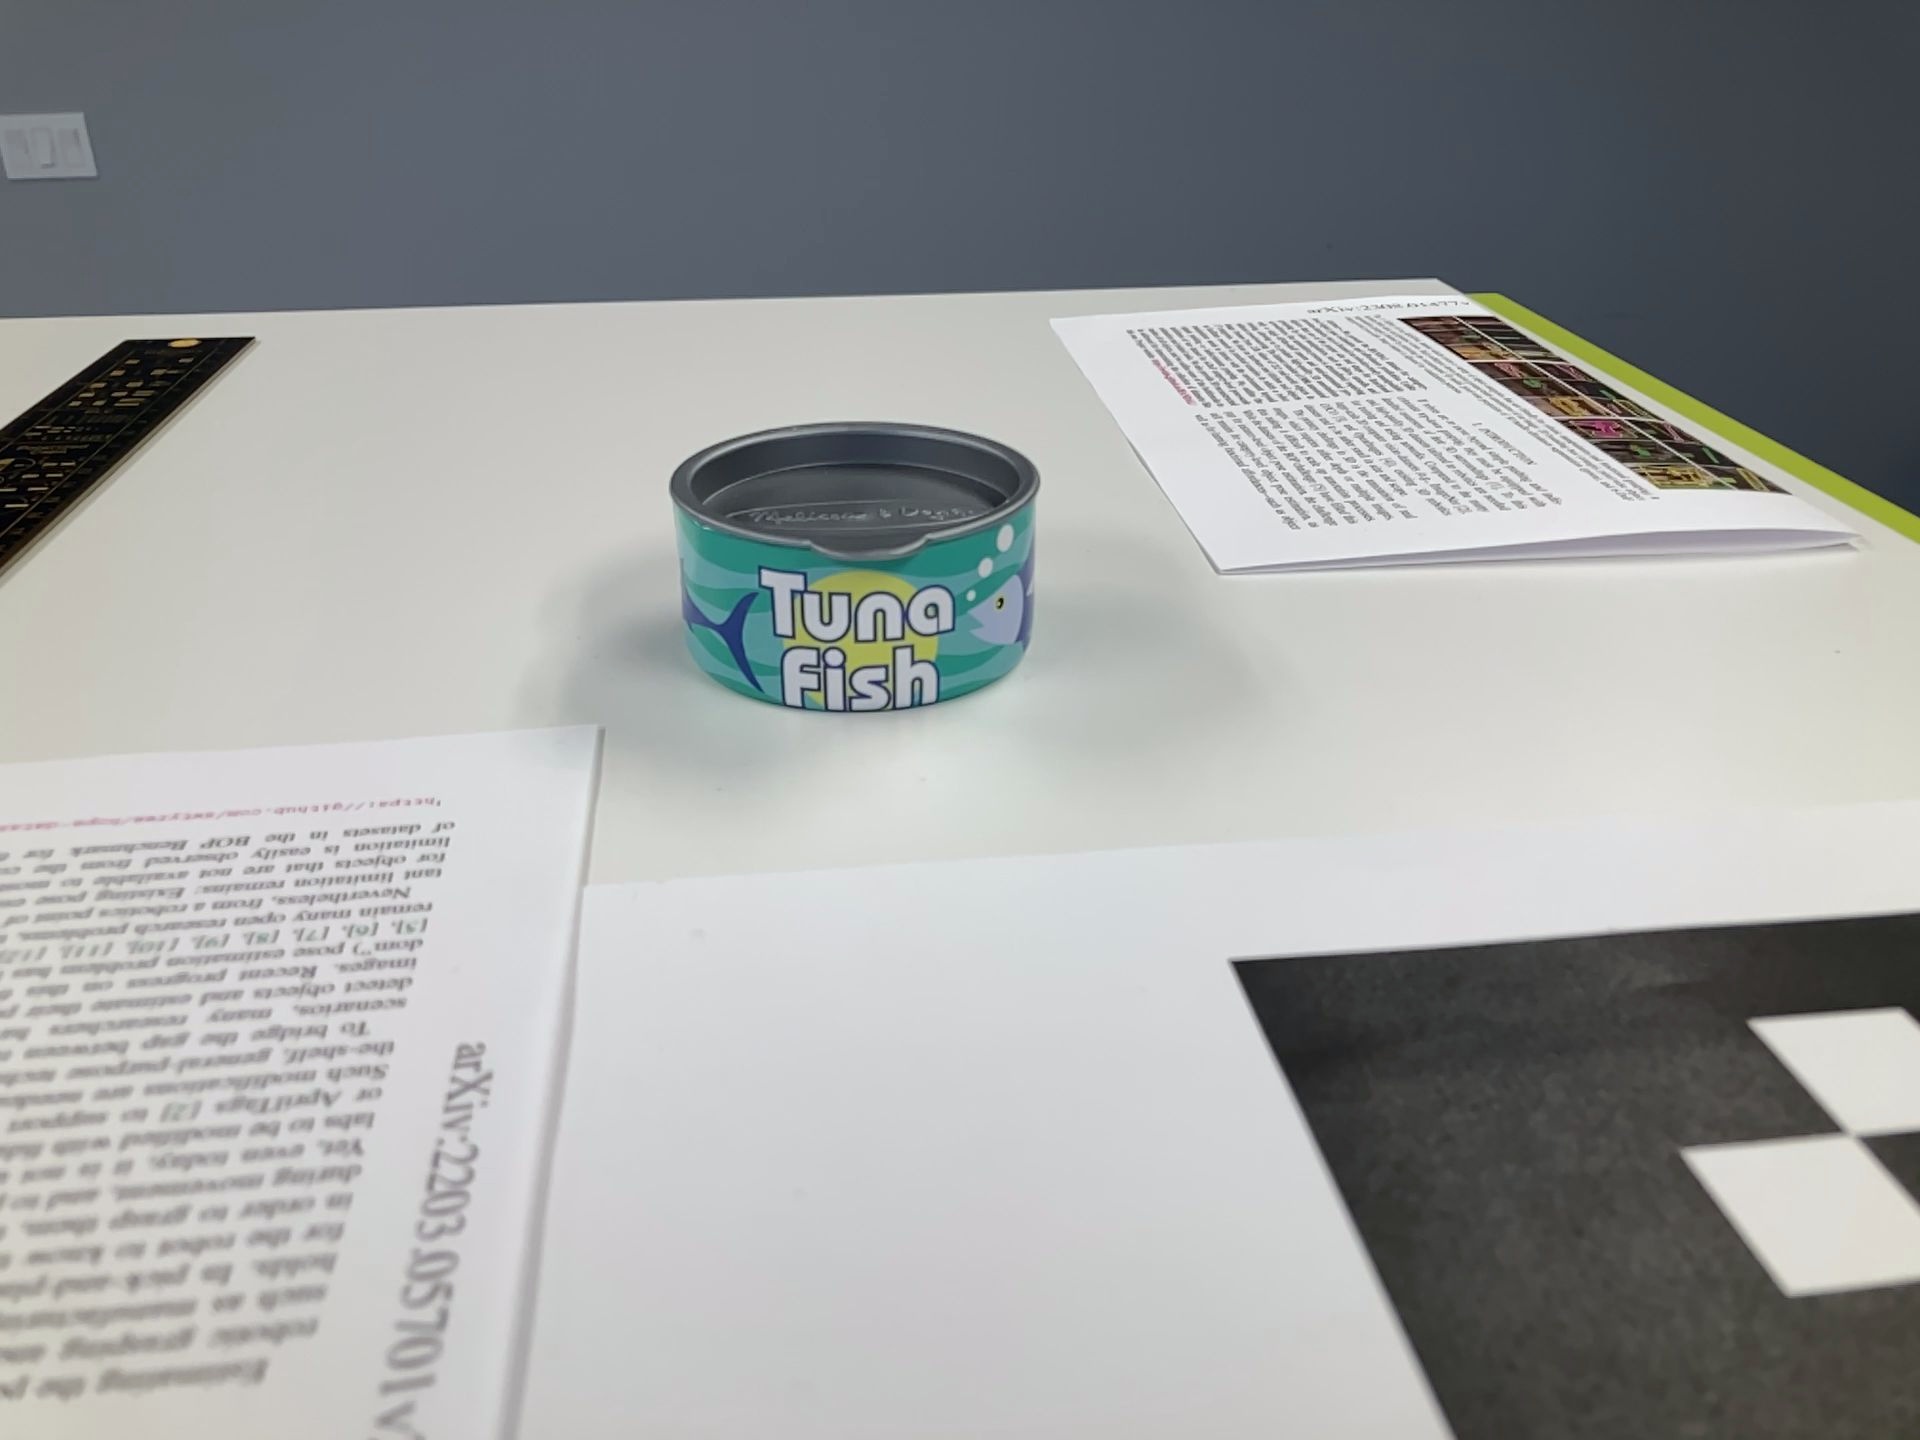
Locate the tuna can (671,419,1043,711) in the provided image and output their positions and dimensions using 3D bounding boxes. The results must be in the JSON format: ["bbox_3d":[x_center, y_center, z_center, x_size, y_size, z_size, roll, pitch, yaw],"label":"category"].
[{"bbox_3d":[-0.018,-0.029,0.288,0.071,0.033,0.071,1,27,0],"label":"tuna can"}]
